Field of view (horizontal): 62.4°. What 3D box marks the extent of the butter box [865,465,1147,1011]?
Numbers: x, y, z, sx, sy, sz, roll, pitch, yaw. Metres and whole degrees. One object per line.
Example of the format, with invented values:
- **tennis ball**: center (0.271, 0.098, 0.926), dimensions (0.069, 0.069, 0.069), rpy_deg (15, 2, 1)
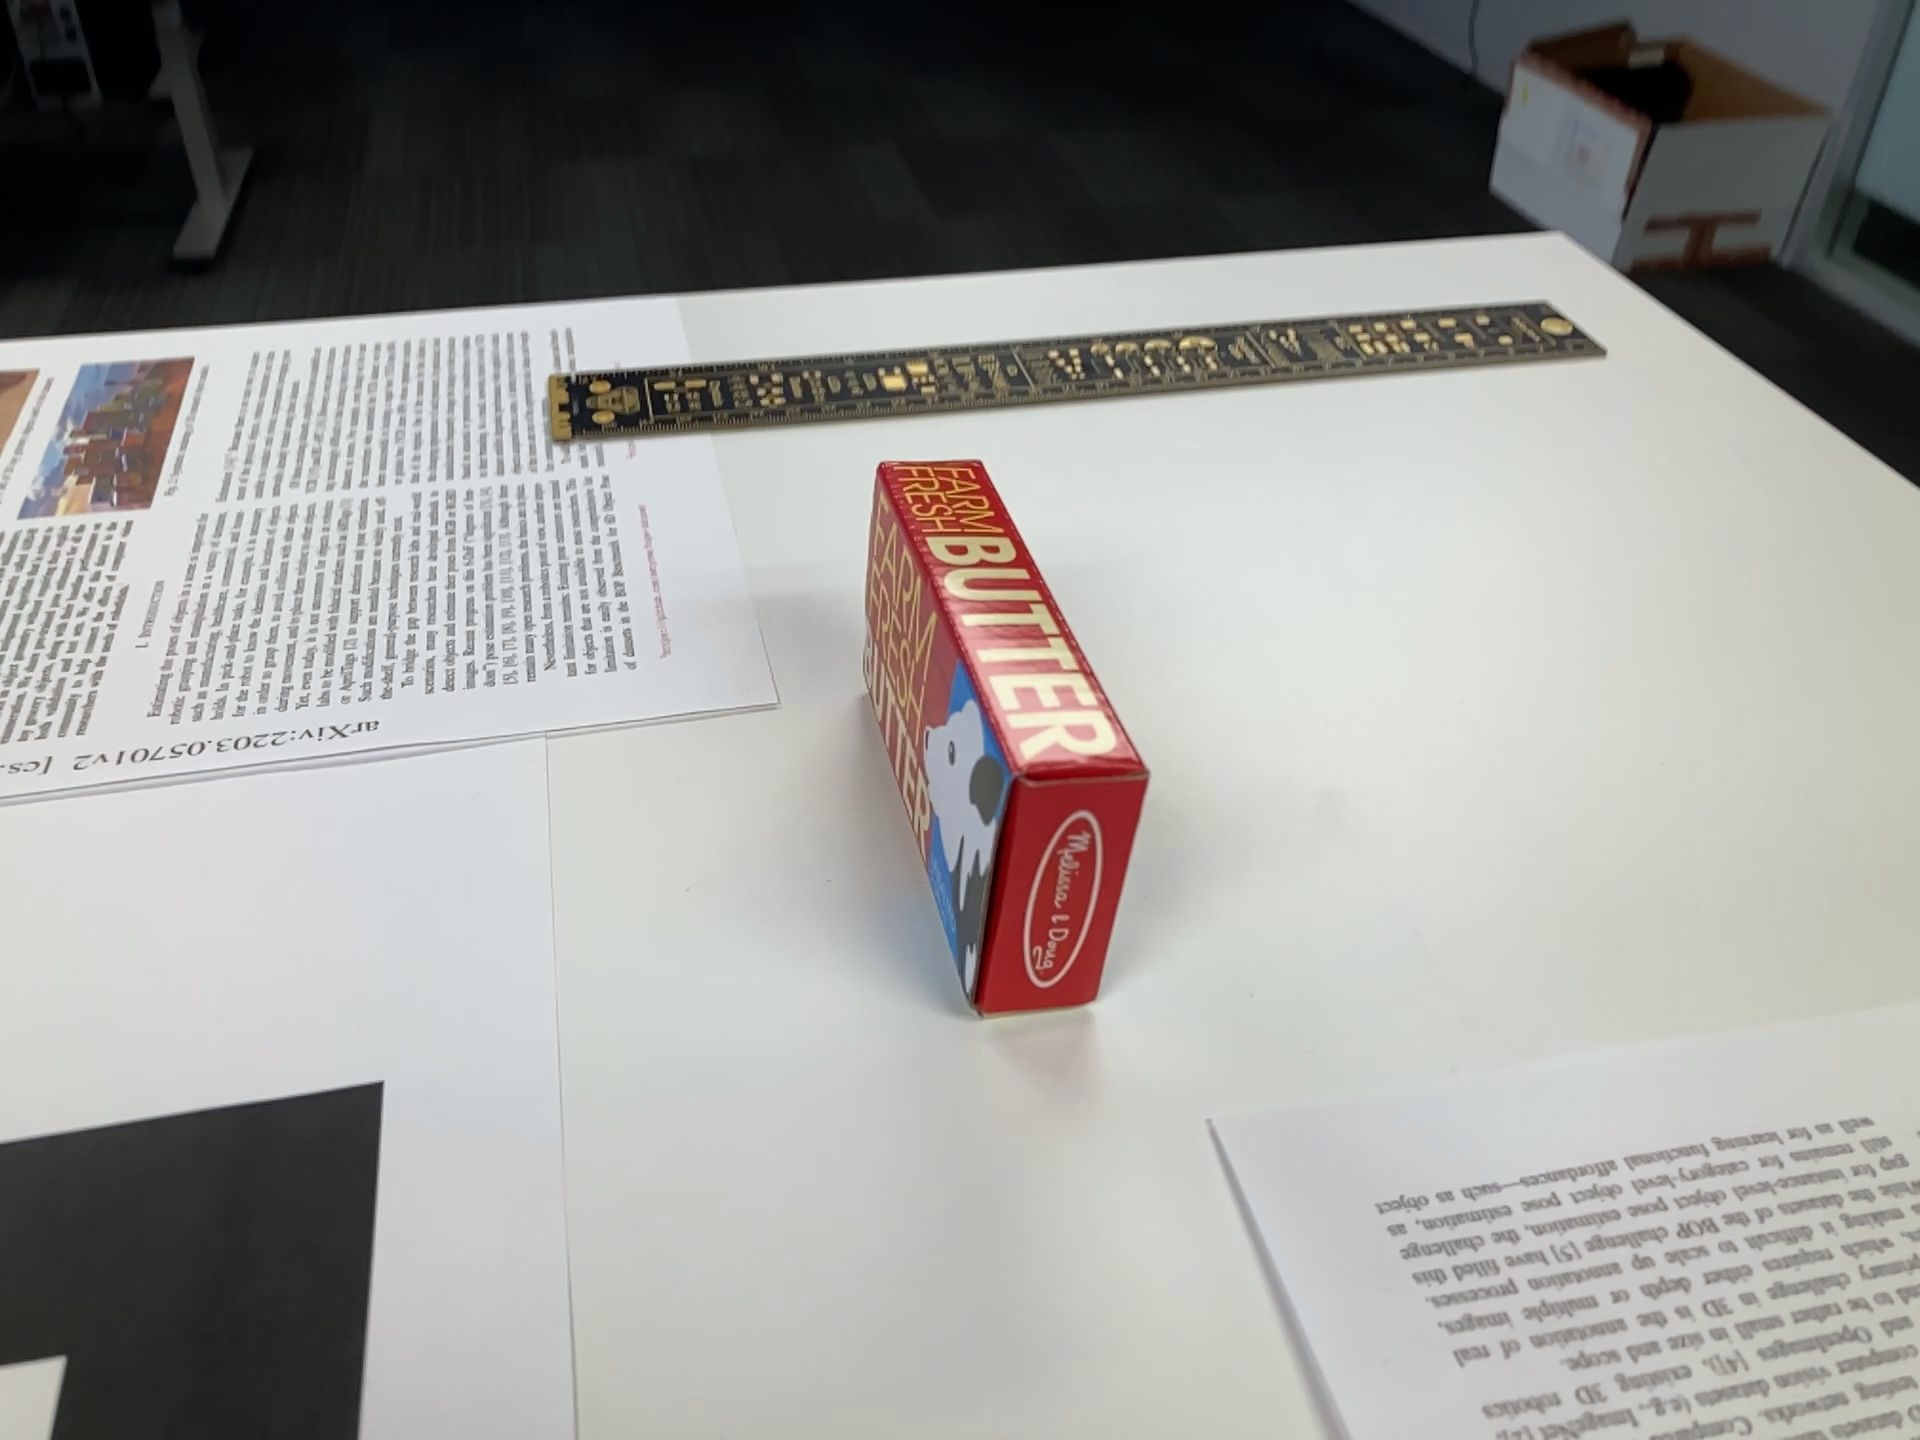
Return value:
- **butter box**: center (0.004, -0.001, 0.298), dimensions (0.024, 0.053, 0.103), rpy_deg (-3, 38, -15)
